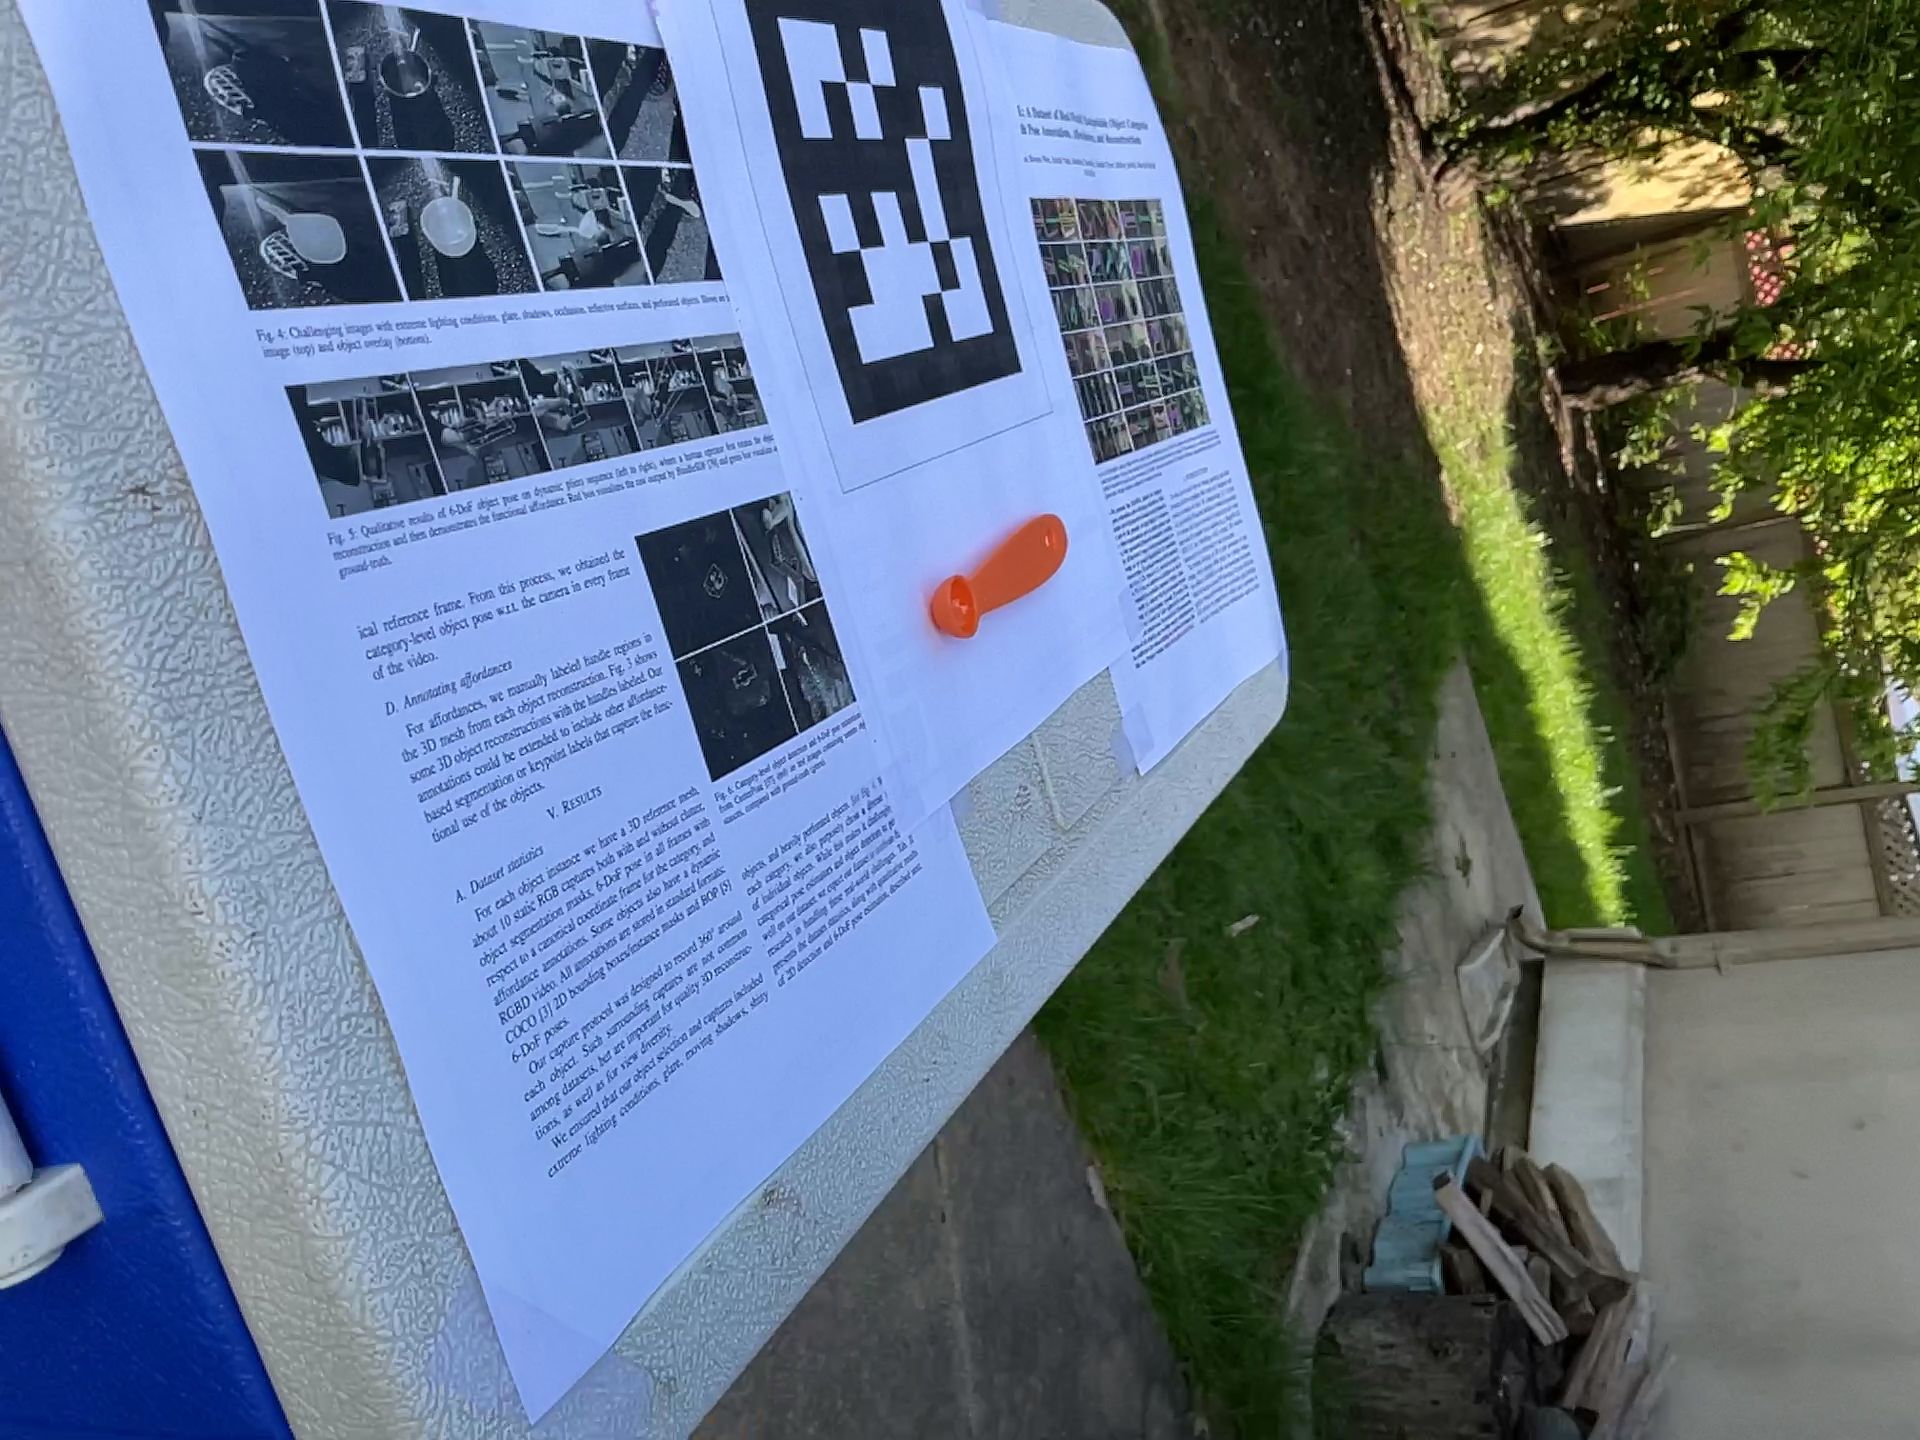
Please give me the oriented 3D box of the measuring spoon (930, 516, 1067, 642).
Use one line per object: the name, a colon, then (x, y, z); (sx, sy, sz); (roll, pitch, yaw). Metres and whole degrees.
measuring spoon: (0.014, -0.048, 0.520); (0.117, 0.011, 0.021); (-43, 118, -62)
